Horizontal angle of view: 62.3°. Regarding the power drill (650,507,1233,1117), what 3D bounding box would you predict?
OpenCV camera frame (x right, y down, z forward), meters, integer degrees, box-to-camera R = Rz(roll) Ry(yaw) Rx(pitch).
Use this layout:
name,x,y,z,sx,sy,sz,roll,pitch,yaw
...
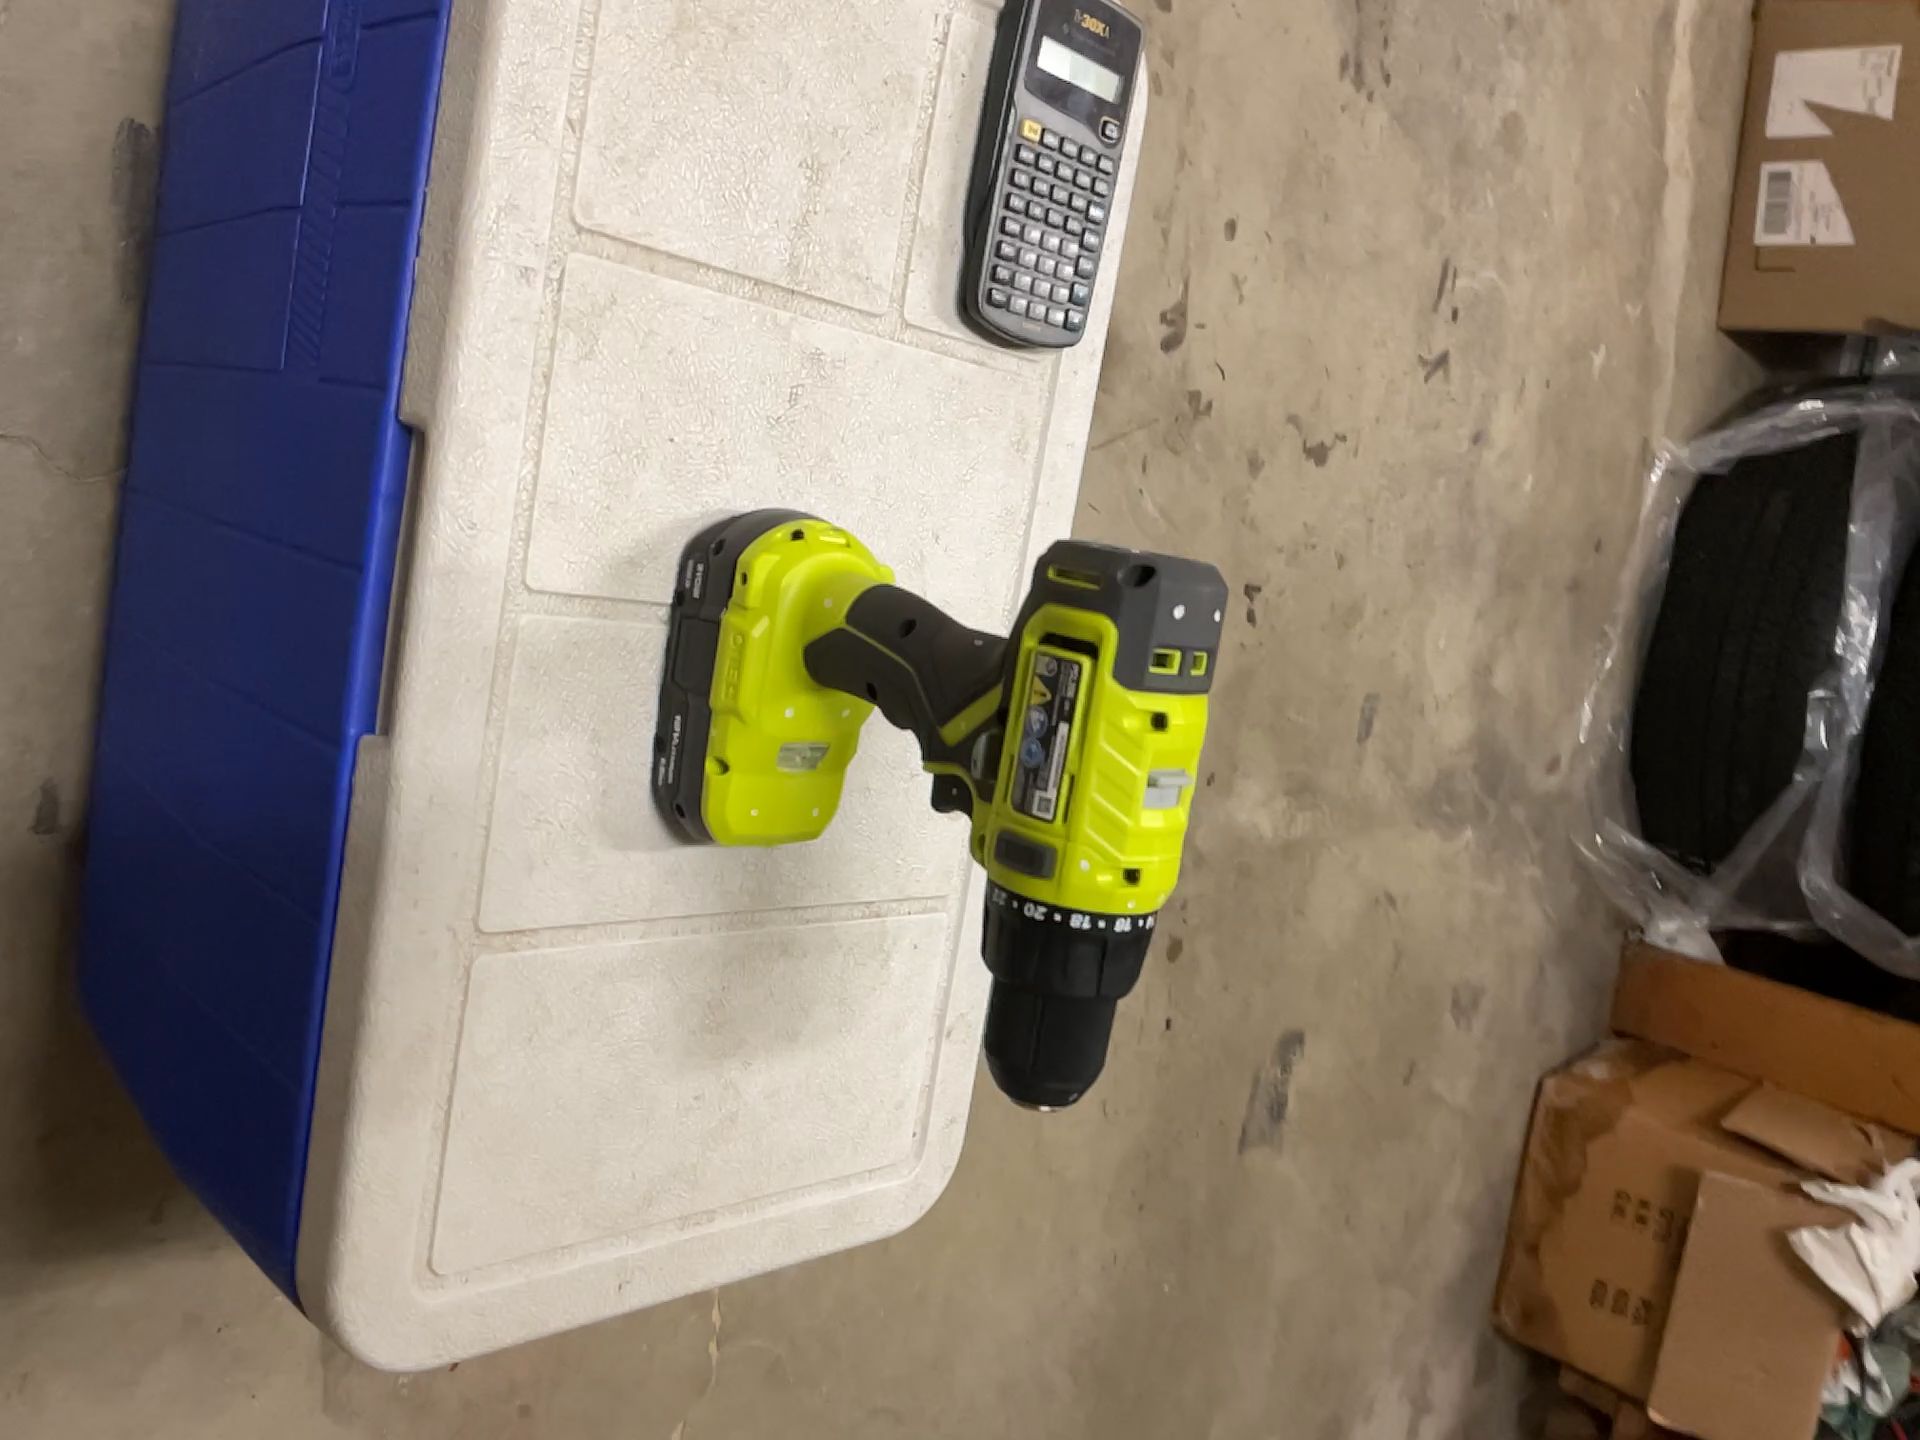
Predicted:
name,x,y,z,sx,sy,sz,roll,pitch,yaw
power drill,-0.015,0.019,0.581,0.080,0.228,0.190,1,103,-46
